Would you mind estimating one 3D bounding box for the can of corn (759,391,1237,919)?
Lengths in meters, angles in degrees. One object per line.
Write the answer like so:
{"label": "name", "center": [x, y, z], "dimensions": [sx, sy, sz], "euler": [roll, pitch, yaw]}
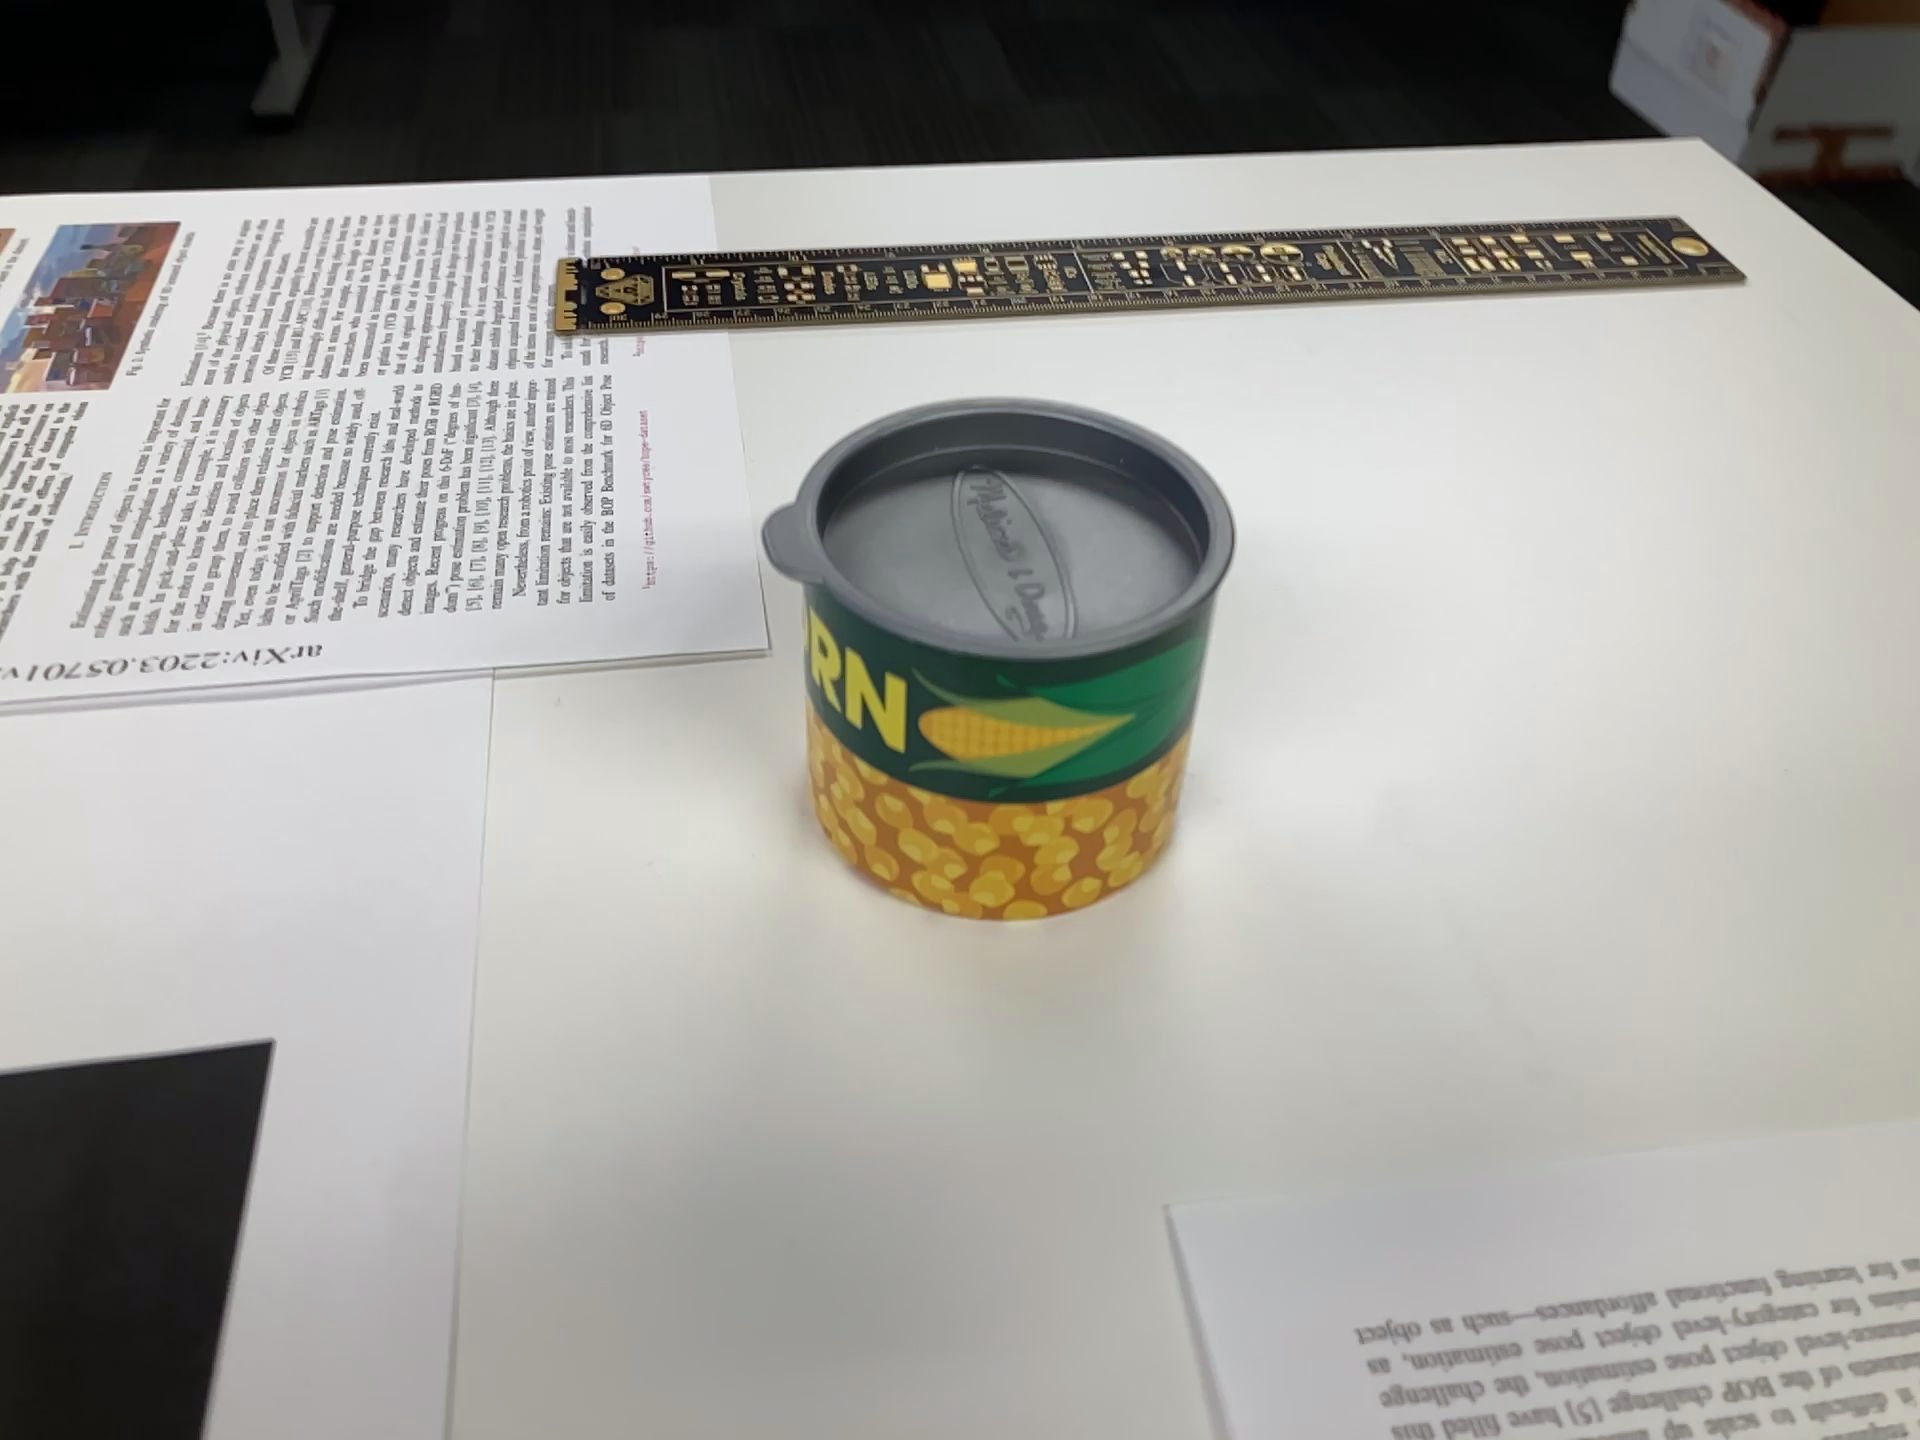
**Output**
{"label": "can of corn", "center": [0.005, -0.010, 0.255], "dimensions": [0.071, 0.058, 0.071], "euler": [1, 42, -1]}
